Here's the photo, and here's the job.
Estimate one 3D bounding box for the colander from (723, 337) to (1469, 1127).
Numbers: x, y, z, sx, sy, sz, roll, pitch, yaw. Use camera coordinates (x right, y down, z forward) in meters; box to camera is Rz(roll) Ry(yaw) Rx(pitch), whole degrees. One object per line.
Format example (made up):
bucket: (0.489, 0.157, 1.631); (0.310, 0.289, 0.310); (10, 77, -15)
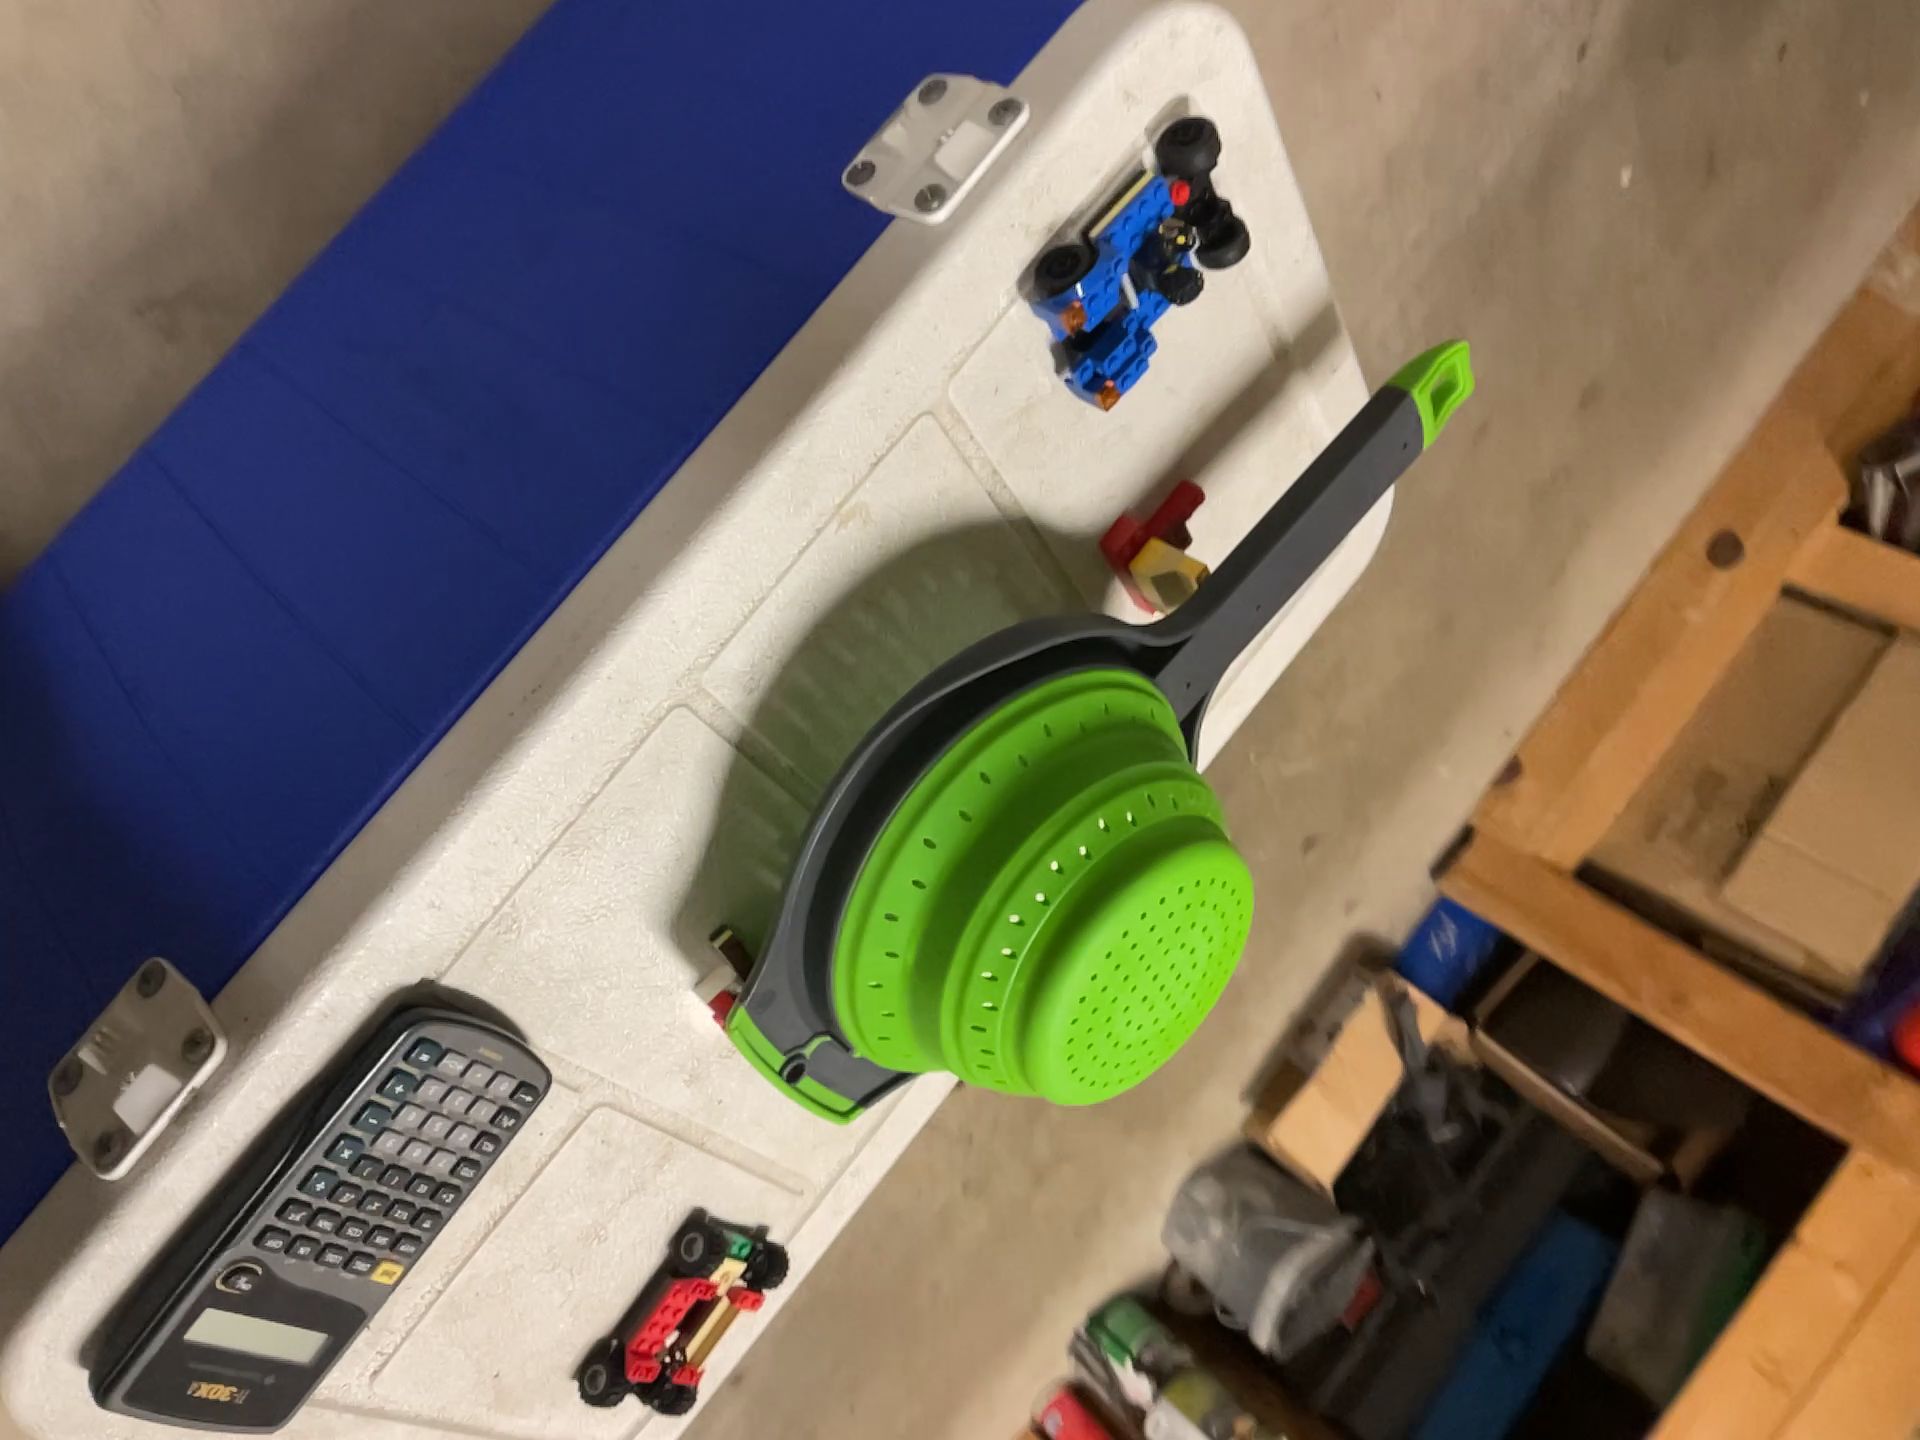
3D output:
colander: (0.093, 0.011, 0.592); (0.397, 0.095, 0.204); (-47, 142, -10)
